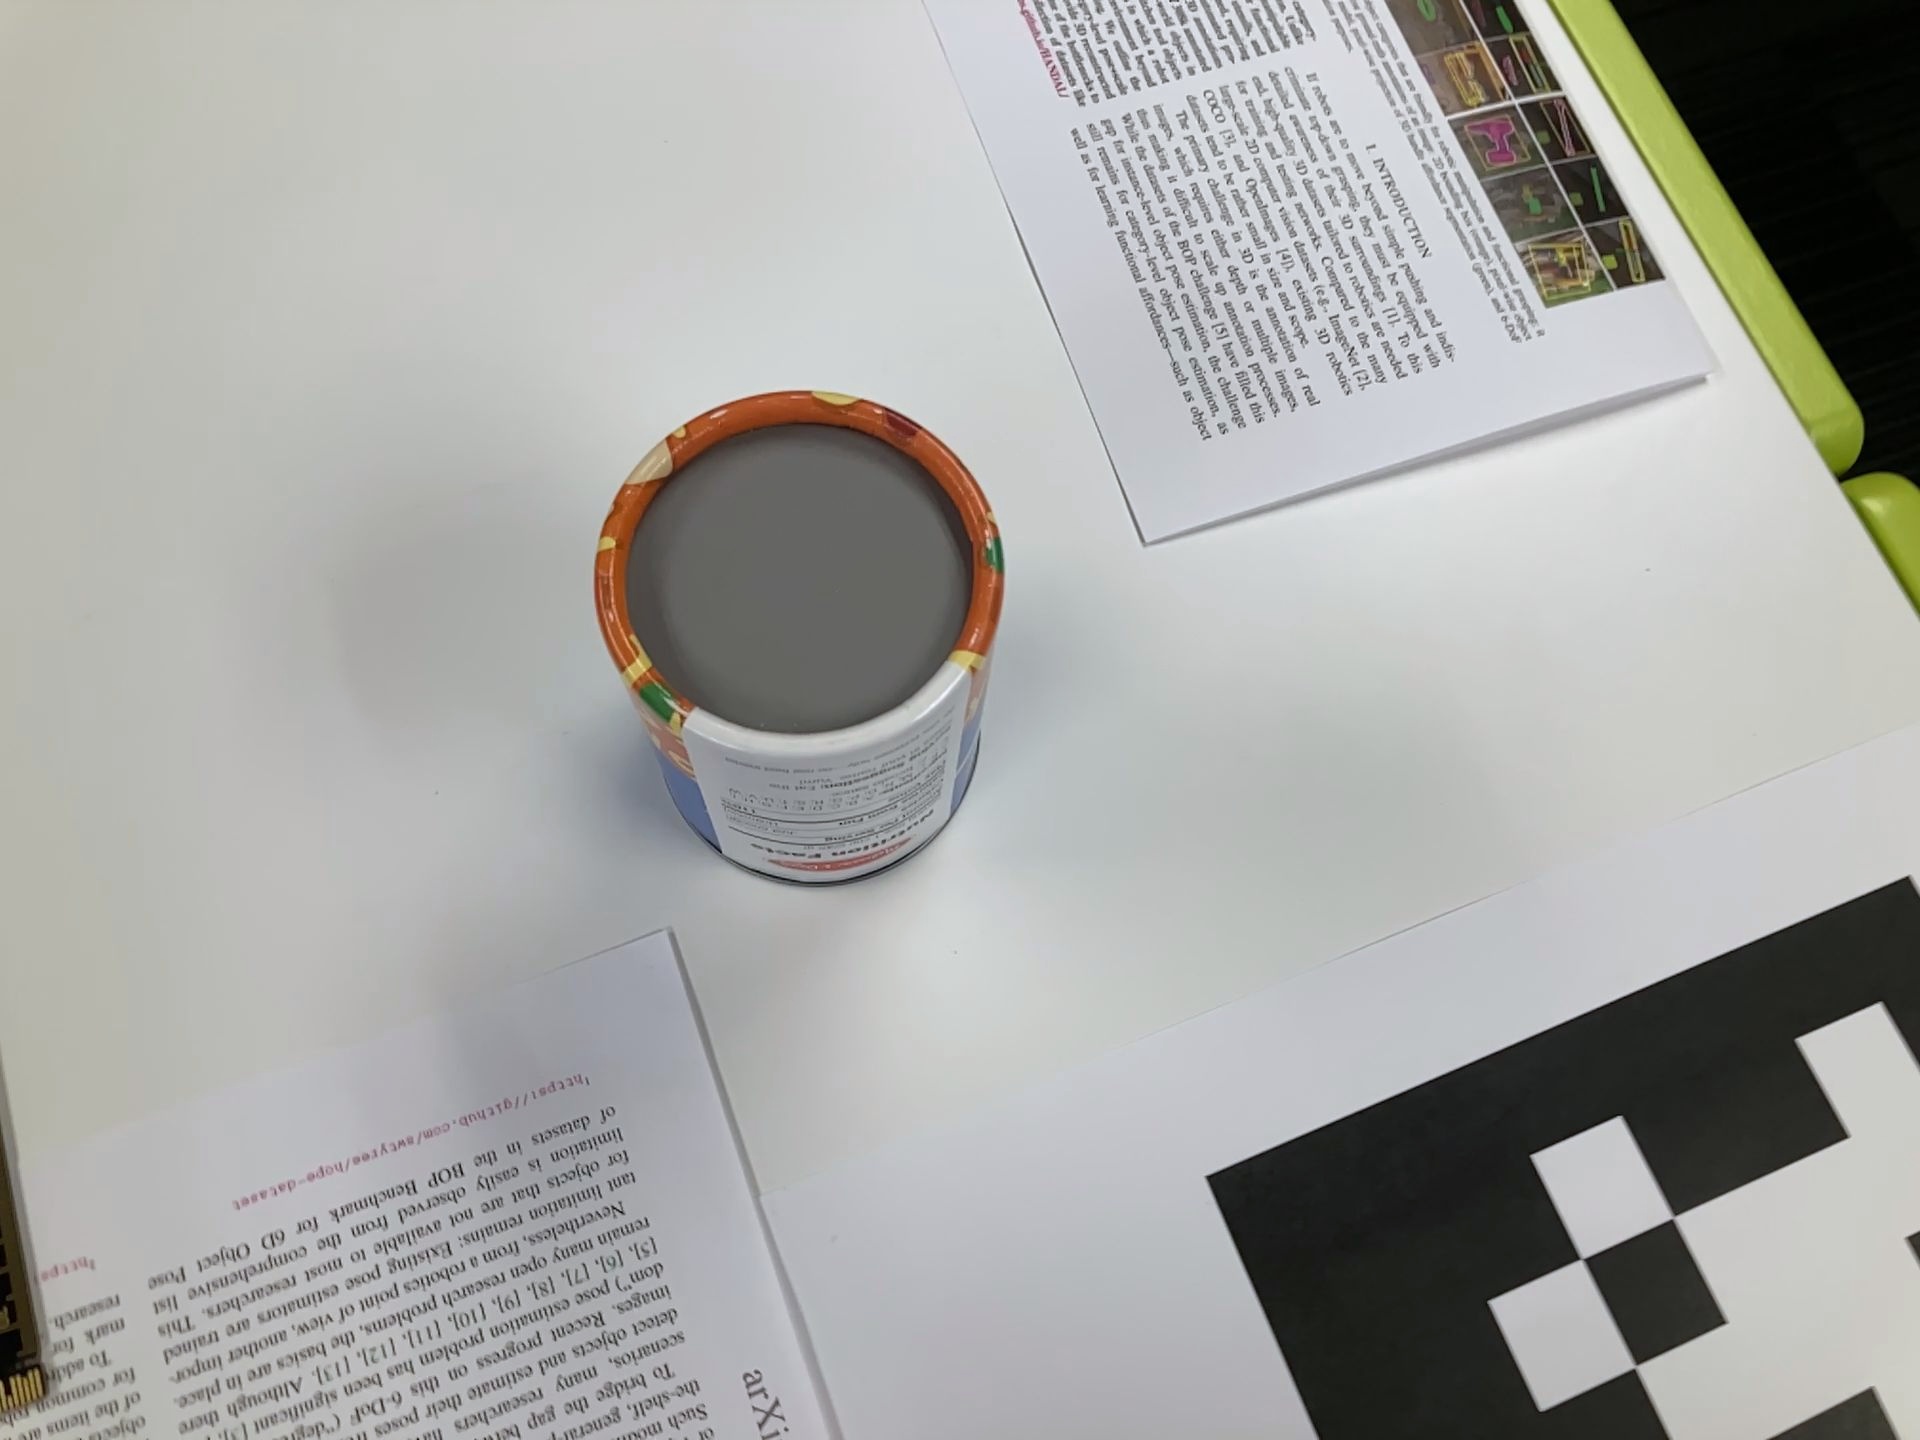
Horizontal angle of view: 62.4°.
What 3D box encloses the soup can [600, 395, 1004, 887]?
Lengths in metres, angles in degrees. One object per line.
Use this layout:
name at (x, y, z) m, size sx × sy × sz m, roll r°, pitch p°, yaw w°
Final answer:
soup can at (-0.028, -0.014, 0.294) m, size 0.071 × 0.084 × 0.071 m, roll 1°, pitch 70°, yaw -3°
